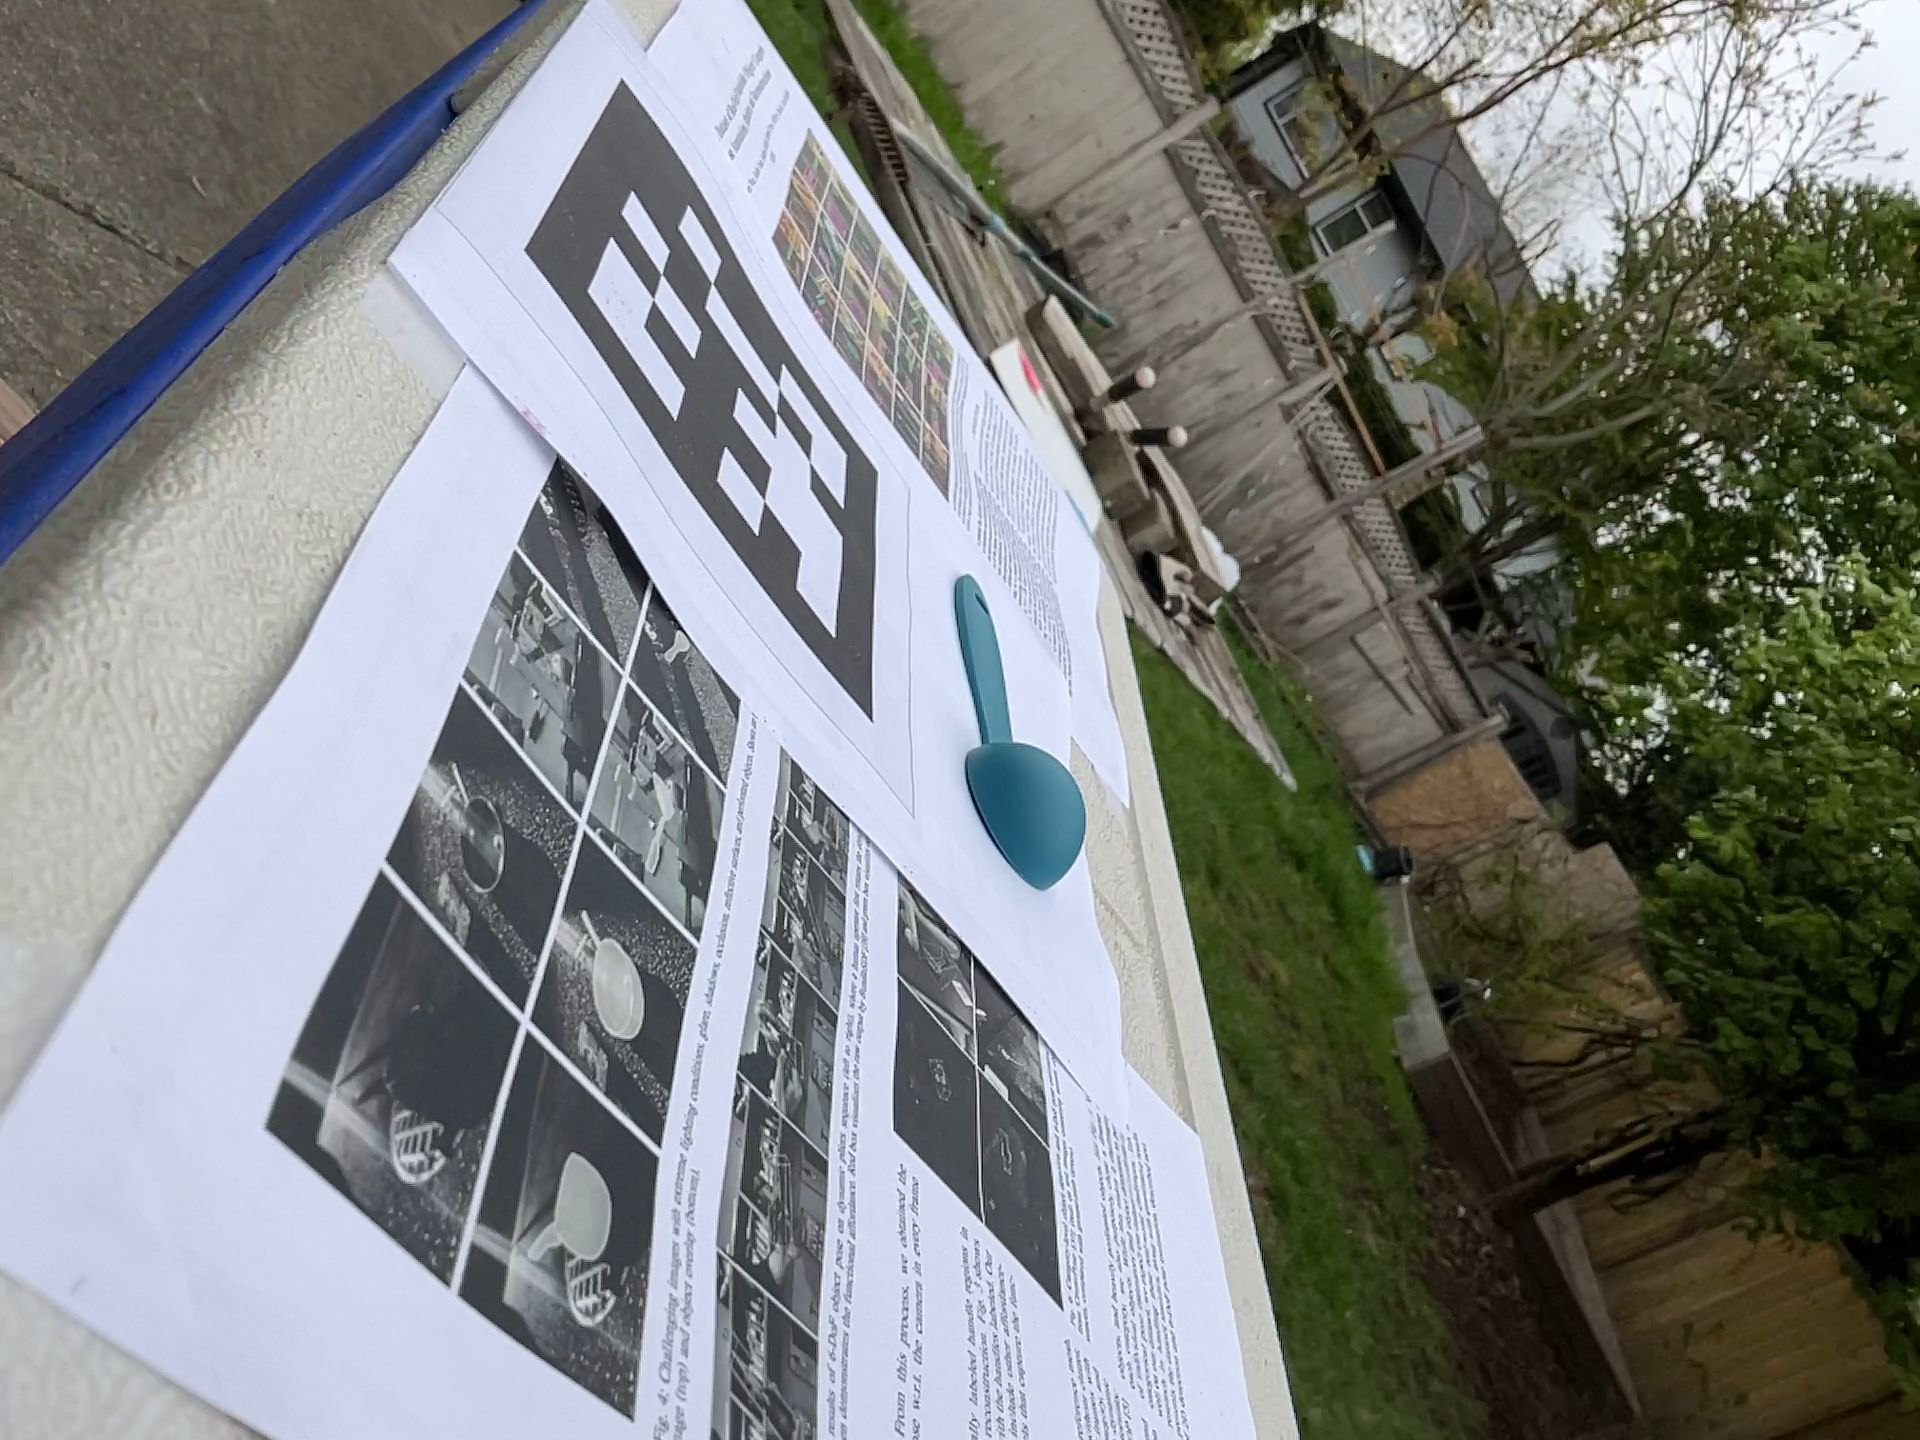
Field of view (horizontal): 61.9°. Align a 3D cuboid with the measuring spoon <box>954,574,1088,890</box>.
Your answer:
[{"bbox_3d":[0.016,-0.007,0.458,0.042,0.021,0.129,43,24,-35],"label":"measuring spoon"}]
